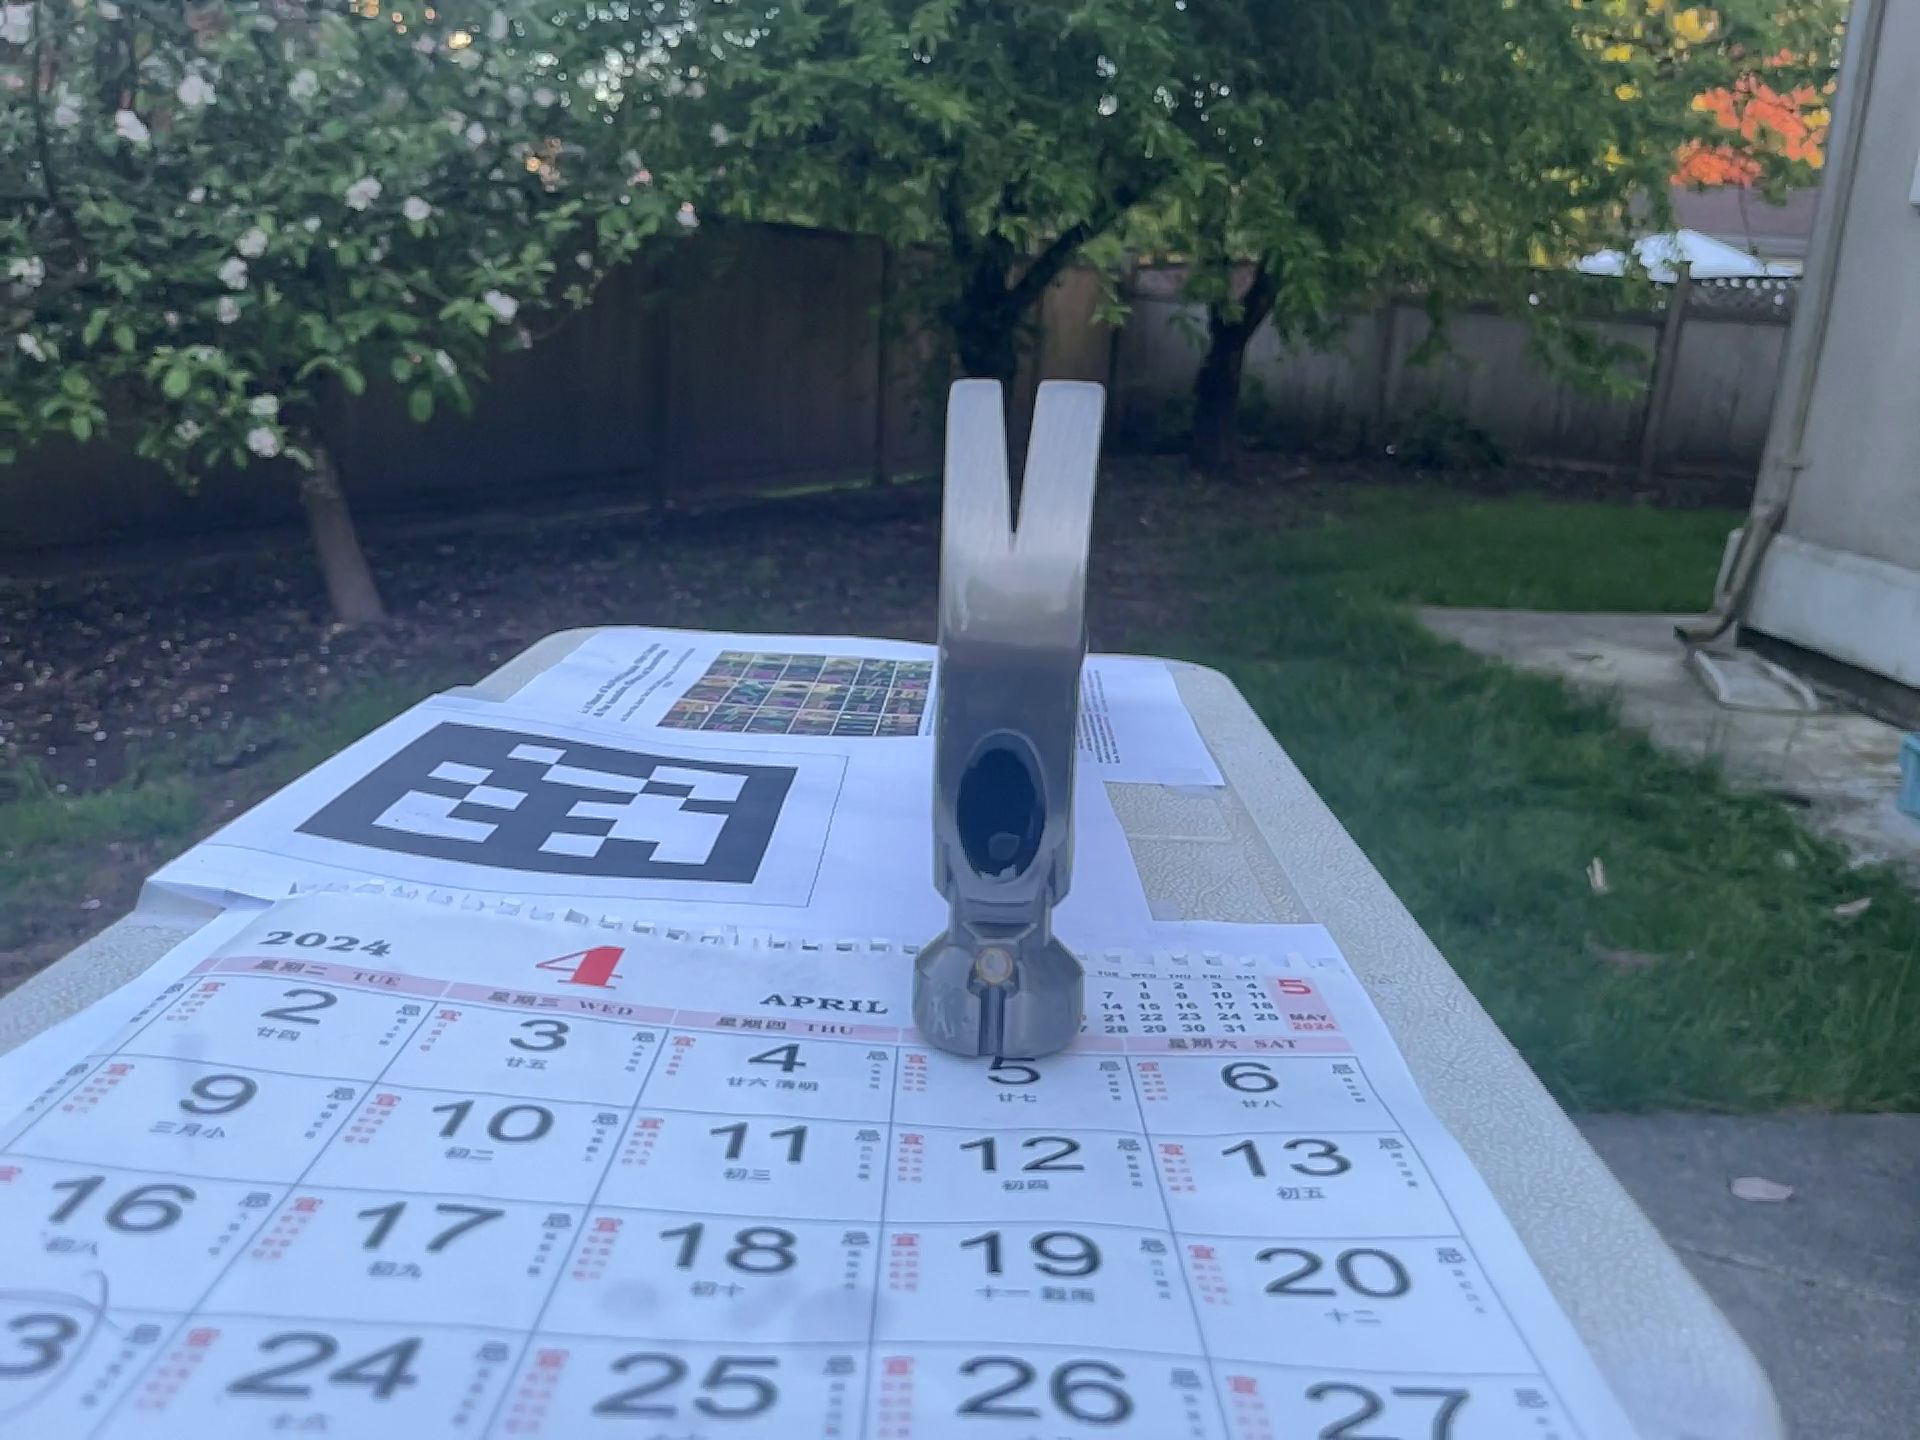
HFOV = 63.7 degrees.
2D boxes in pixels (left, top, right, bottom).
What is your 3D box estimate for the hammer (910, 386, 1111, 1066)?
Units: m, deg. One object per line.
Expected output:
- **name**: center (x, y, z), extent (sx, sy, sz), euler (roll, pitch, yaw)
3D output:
- **hammer**: center (0.025, -0.026, 0.505), extent (0.038, 0.143, 0.386), euler (4, 9, 4)
